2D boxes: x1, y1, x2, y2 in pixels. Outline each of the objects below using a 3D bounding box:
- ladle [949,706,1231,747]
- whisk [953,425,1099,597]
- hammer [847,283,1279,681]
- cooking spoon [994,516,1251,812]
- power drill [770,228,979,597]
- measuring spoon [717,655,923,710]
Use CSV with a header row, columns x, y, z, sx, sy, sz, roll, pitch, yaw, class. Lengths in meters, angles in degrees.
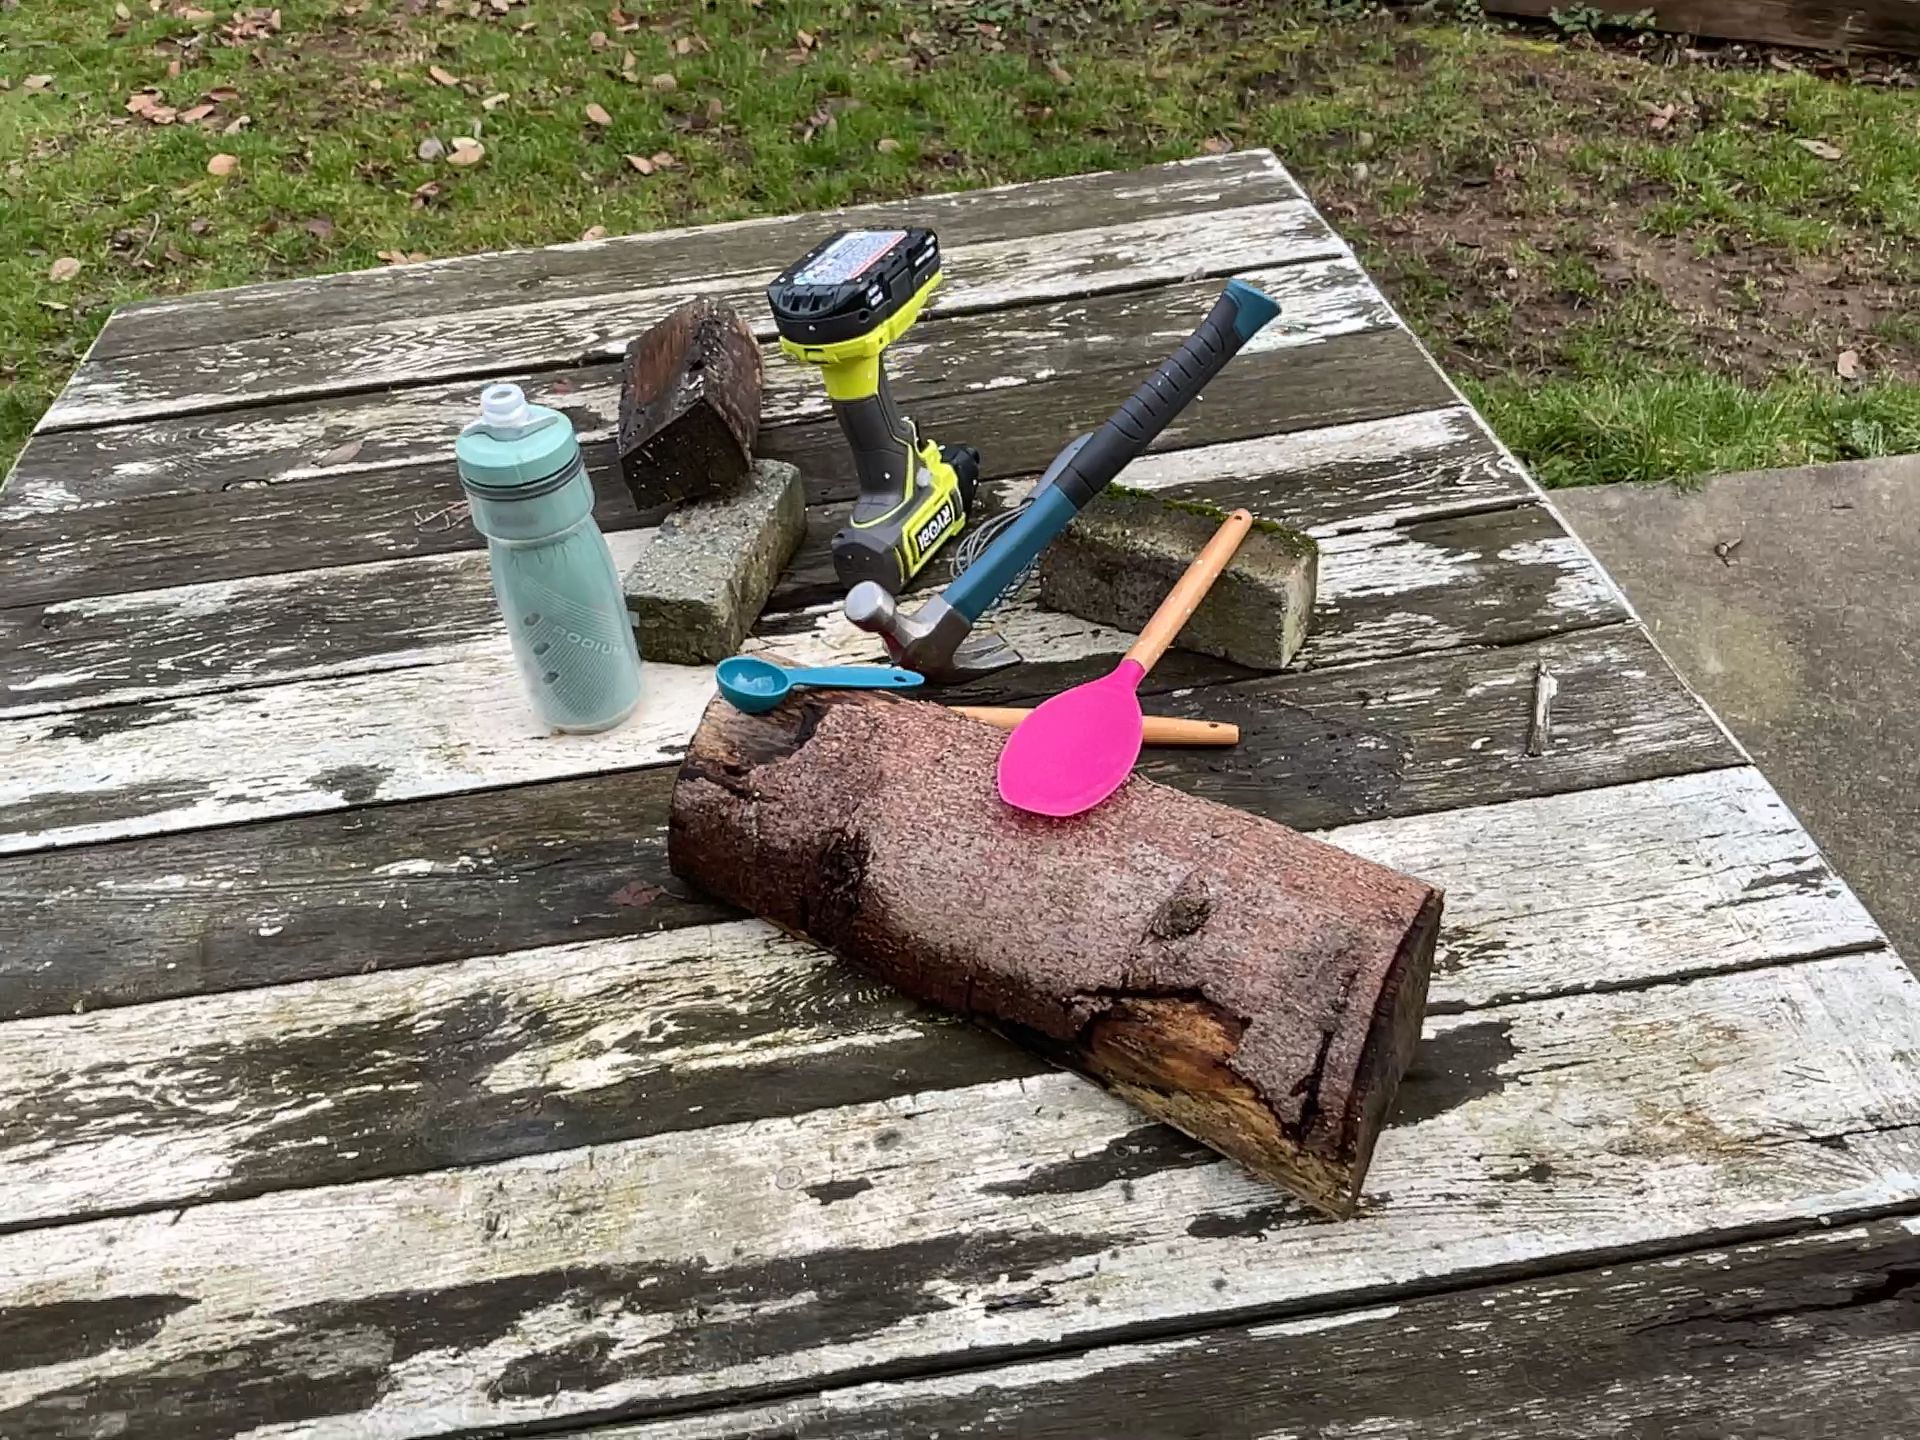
x,y,z,sx,sy,sz,roll,pitch,yaw,class
0.012,-0.002,1.006,0.315,0.031,0.069,5,39,9,ladle
0.058,-0.159,1.164,0.055,0.055,0.239,20,43,16,whisk
0.078,-0.154,1.025,0.331,0.128,0.033,-46,49,3,hammer
0.108,-0.041,0.916,0.069,0.017,0.319,15,40,24,cooking spoon
-0.047,-0.222,1.123,0.080,0.223,0.171,8,40,27,power drill
-0.080,-0.019,0.919,0.128,0.021,0.042,-2,34,-30,measuring spoon
